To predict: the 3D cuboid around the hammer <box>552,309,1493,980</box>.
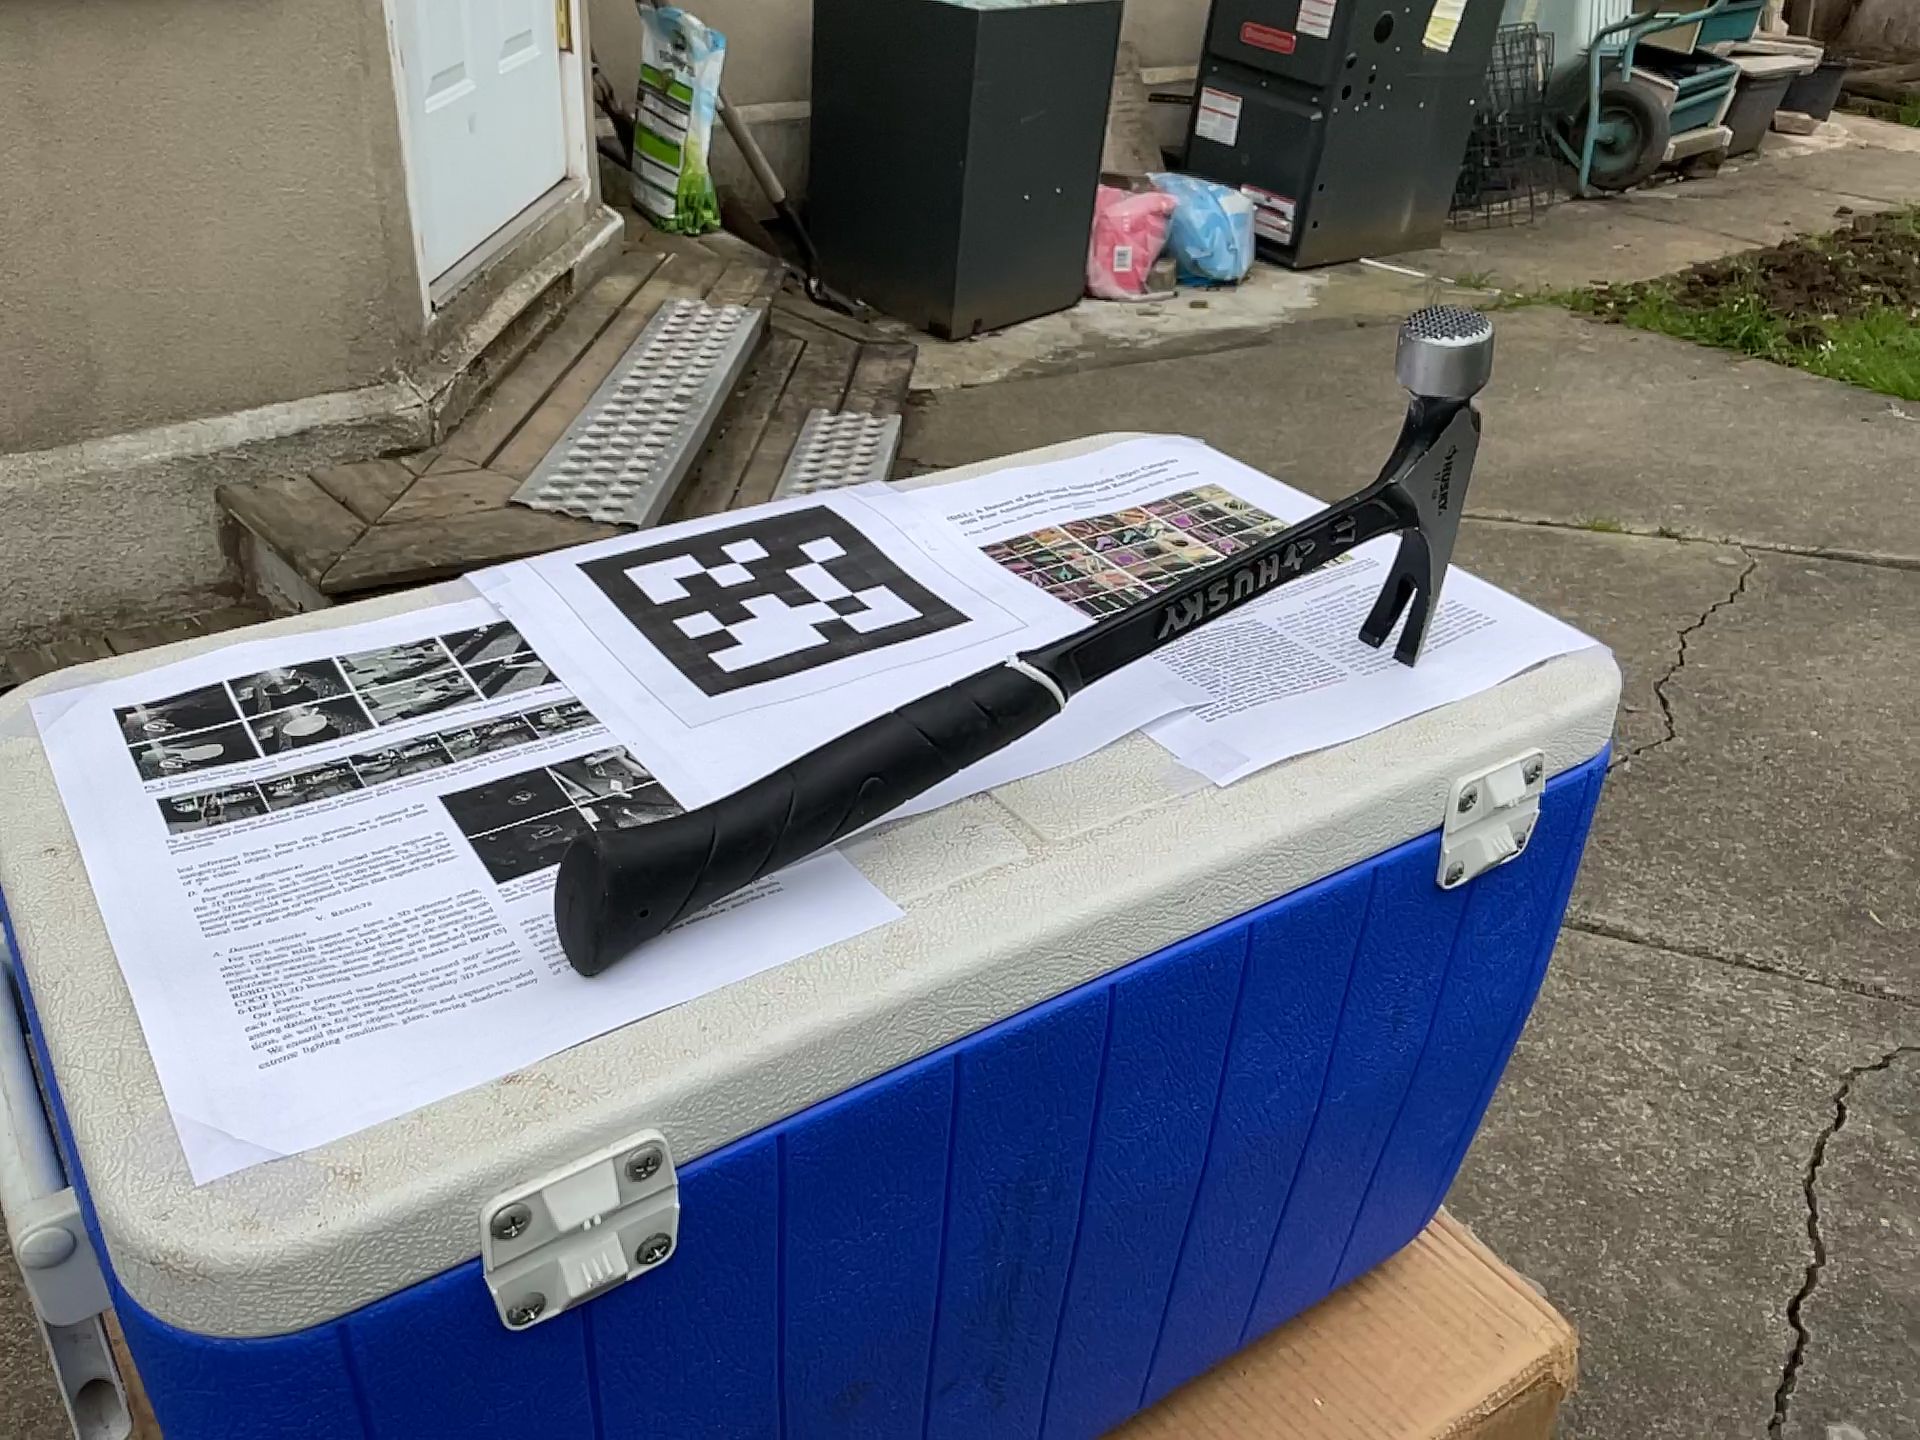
[{"bbox_3d":[0.042,-0.017,0.577,0.409,0.149,0.036,-27,42,-25],"label":"hammer"}]
